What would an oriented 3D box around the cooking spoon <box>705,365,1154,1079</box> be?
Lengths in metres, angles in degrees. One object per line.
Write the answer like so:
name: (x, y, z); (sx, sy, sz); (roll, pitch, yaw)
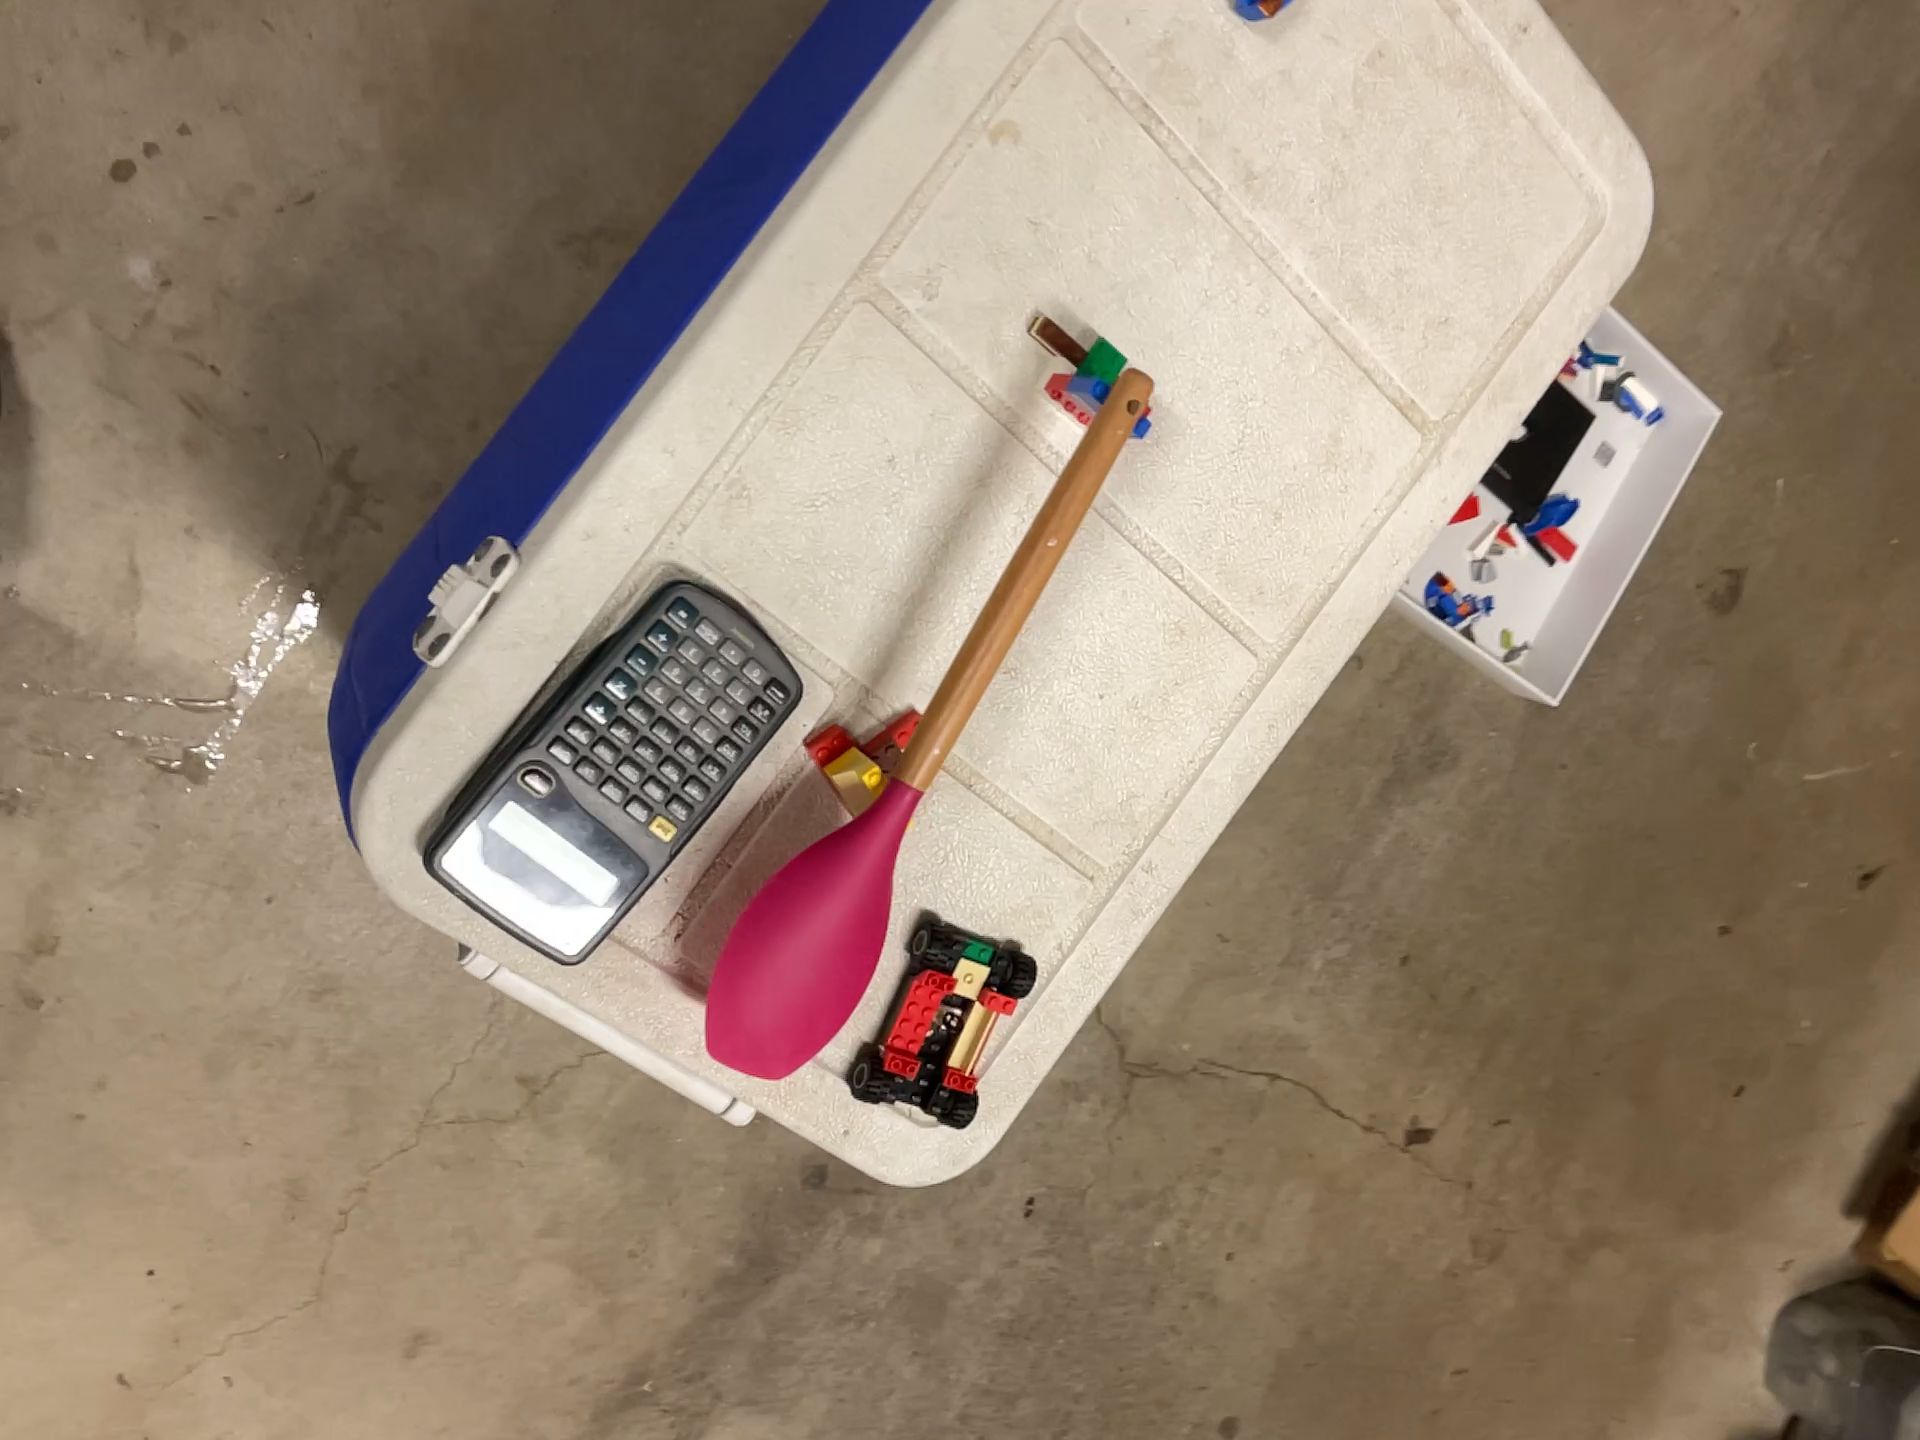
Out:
cooking spoon: (-0.008, 0.002, 0.631); (0.069, 0.017, 0.319); (28, 93, -32)
